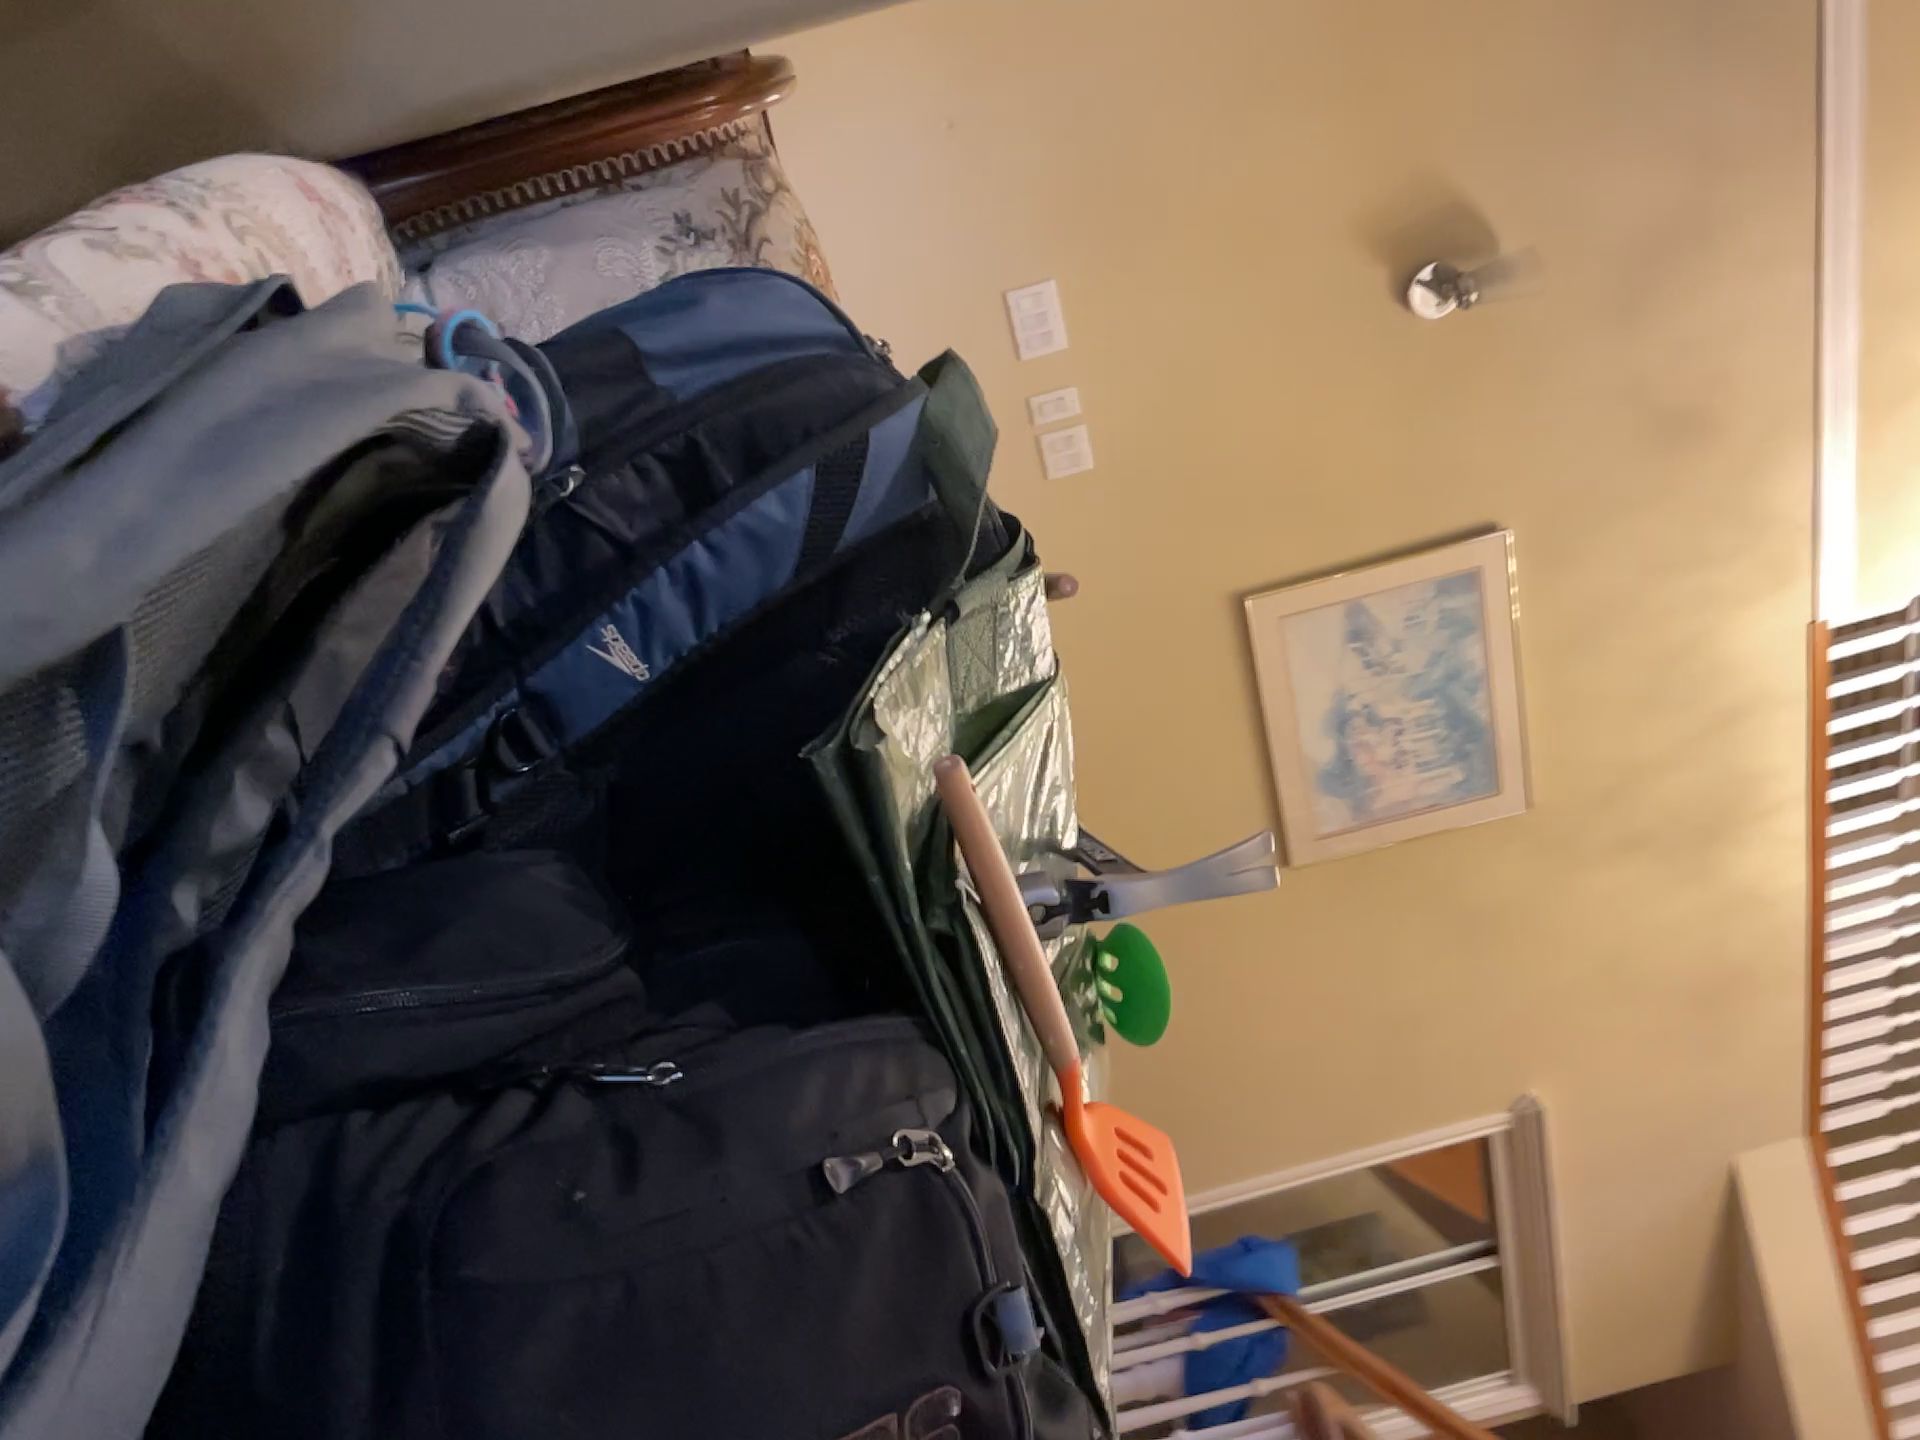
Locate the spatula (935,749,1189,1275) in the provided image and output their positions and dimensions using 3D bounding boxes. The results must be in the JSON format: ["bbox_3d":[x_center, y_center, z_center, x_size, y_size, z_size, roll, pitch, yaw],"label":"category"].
[{"bbox_3d":[0.050,0.135,0.721,0.081,0.041,0.322,-91,165,-53],"label":"spatula"}]

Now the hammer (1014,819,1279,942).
[{"bbox_3d":[0.071,0.071,0.988,0.409,0.149,0.036,-147,-131,-81],"label":"hammer"}]

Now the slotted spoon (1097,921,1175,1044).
[{"bbox_3d":[0.077,0.141,1.031,0.314,0.031,0.070,-152,-119,-79],"label":"slotted spoon"}]

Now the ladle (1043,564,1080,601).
[{"bbox_3d":[0.049,-0.079,0.986,0.320,0.062,0.078,-152,-109,-82],"label":"ladle"}]
